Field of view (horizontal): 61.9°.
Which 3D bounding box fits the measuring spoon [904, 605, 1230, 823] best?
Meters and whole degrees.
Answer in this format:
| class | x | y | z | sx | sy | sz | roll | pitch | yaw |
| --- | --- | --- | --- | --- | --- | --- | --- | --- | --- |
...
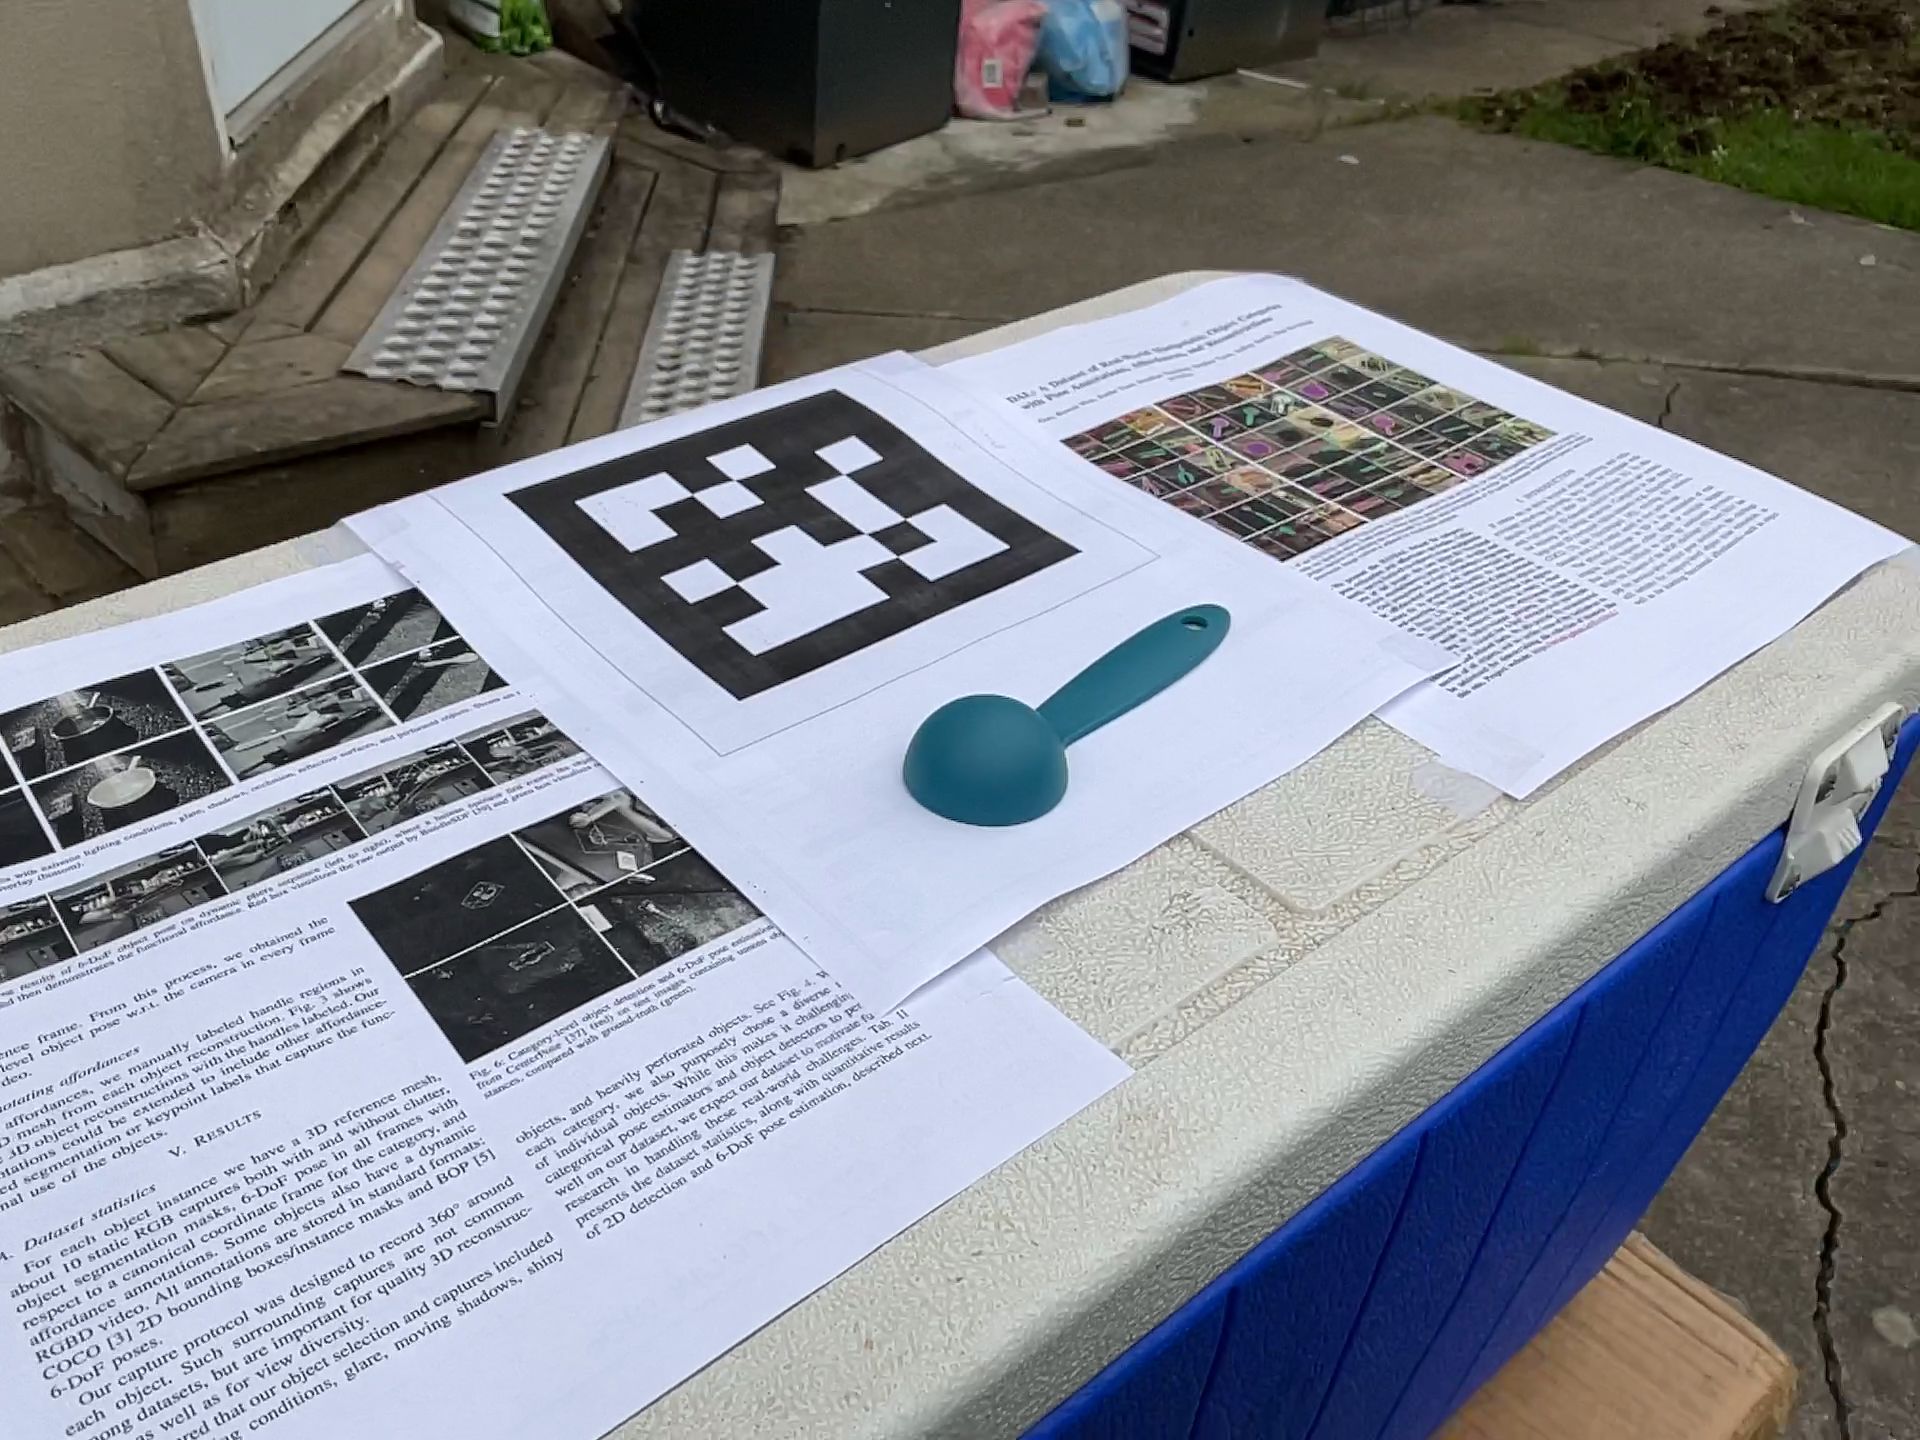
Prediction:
| class | x | y | z | sx | sy | sz | roll | pitch | yaw |
| --- | --- | --- | --- | --- | --- | --- | --- | --- | --- |
| measuring spoon | 0.035 | -0.012 | 0.433 | 0.042 | 0.021 | 0.128 | 25 | 41 | 34 |
